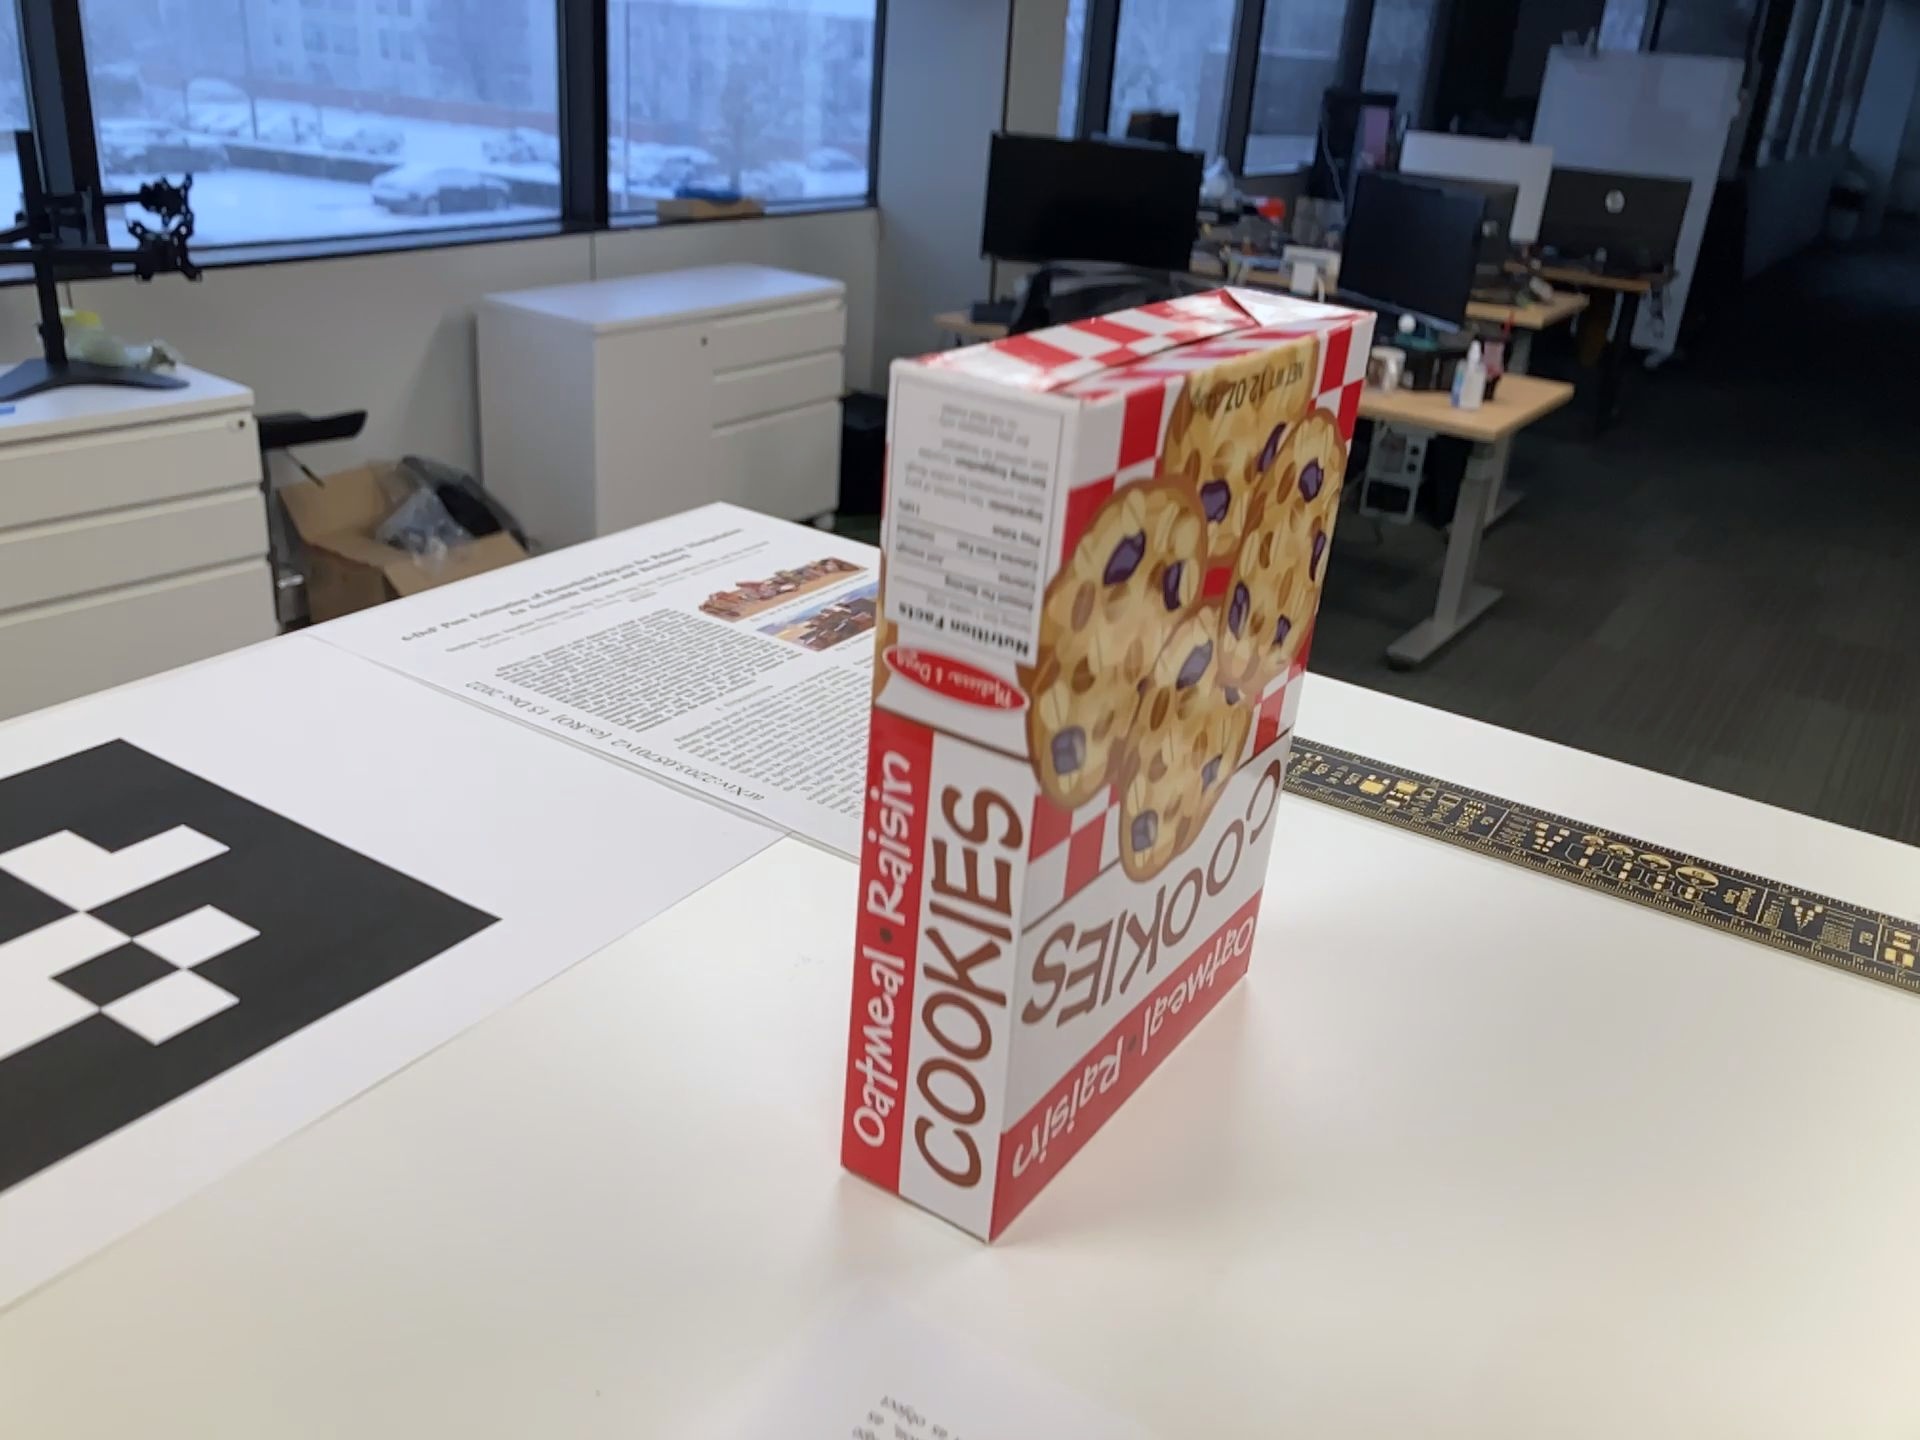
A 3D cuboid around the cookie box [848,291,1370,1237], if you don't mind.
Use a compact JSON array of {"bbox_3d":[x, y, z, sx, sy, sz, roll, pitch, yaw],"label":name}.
[{"bbox_3d":[0.031,0.004,0.332,0.040,0.167,0.123,20,29,29],"label":"cookie box"}]
